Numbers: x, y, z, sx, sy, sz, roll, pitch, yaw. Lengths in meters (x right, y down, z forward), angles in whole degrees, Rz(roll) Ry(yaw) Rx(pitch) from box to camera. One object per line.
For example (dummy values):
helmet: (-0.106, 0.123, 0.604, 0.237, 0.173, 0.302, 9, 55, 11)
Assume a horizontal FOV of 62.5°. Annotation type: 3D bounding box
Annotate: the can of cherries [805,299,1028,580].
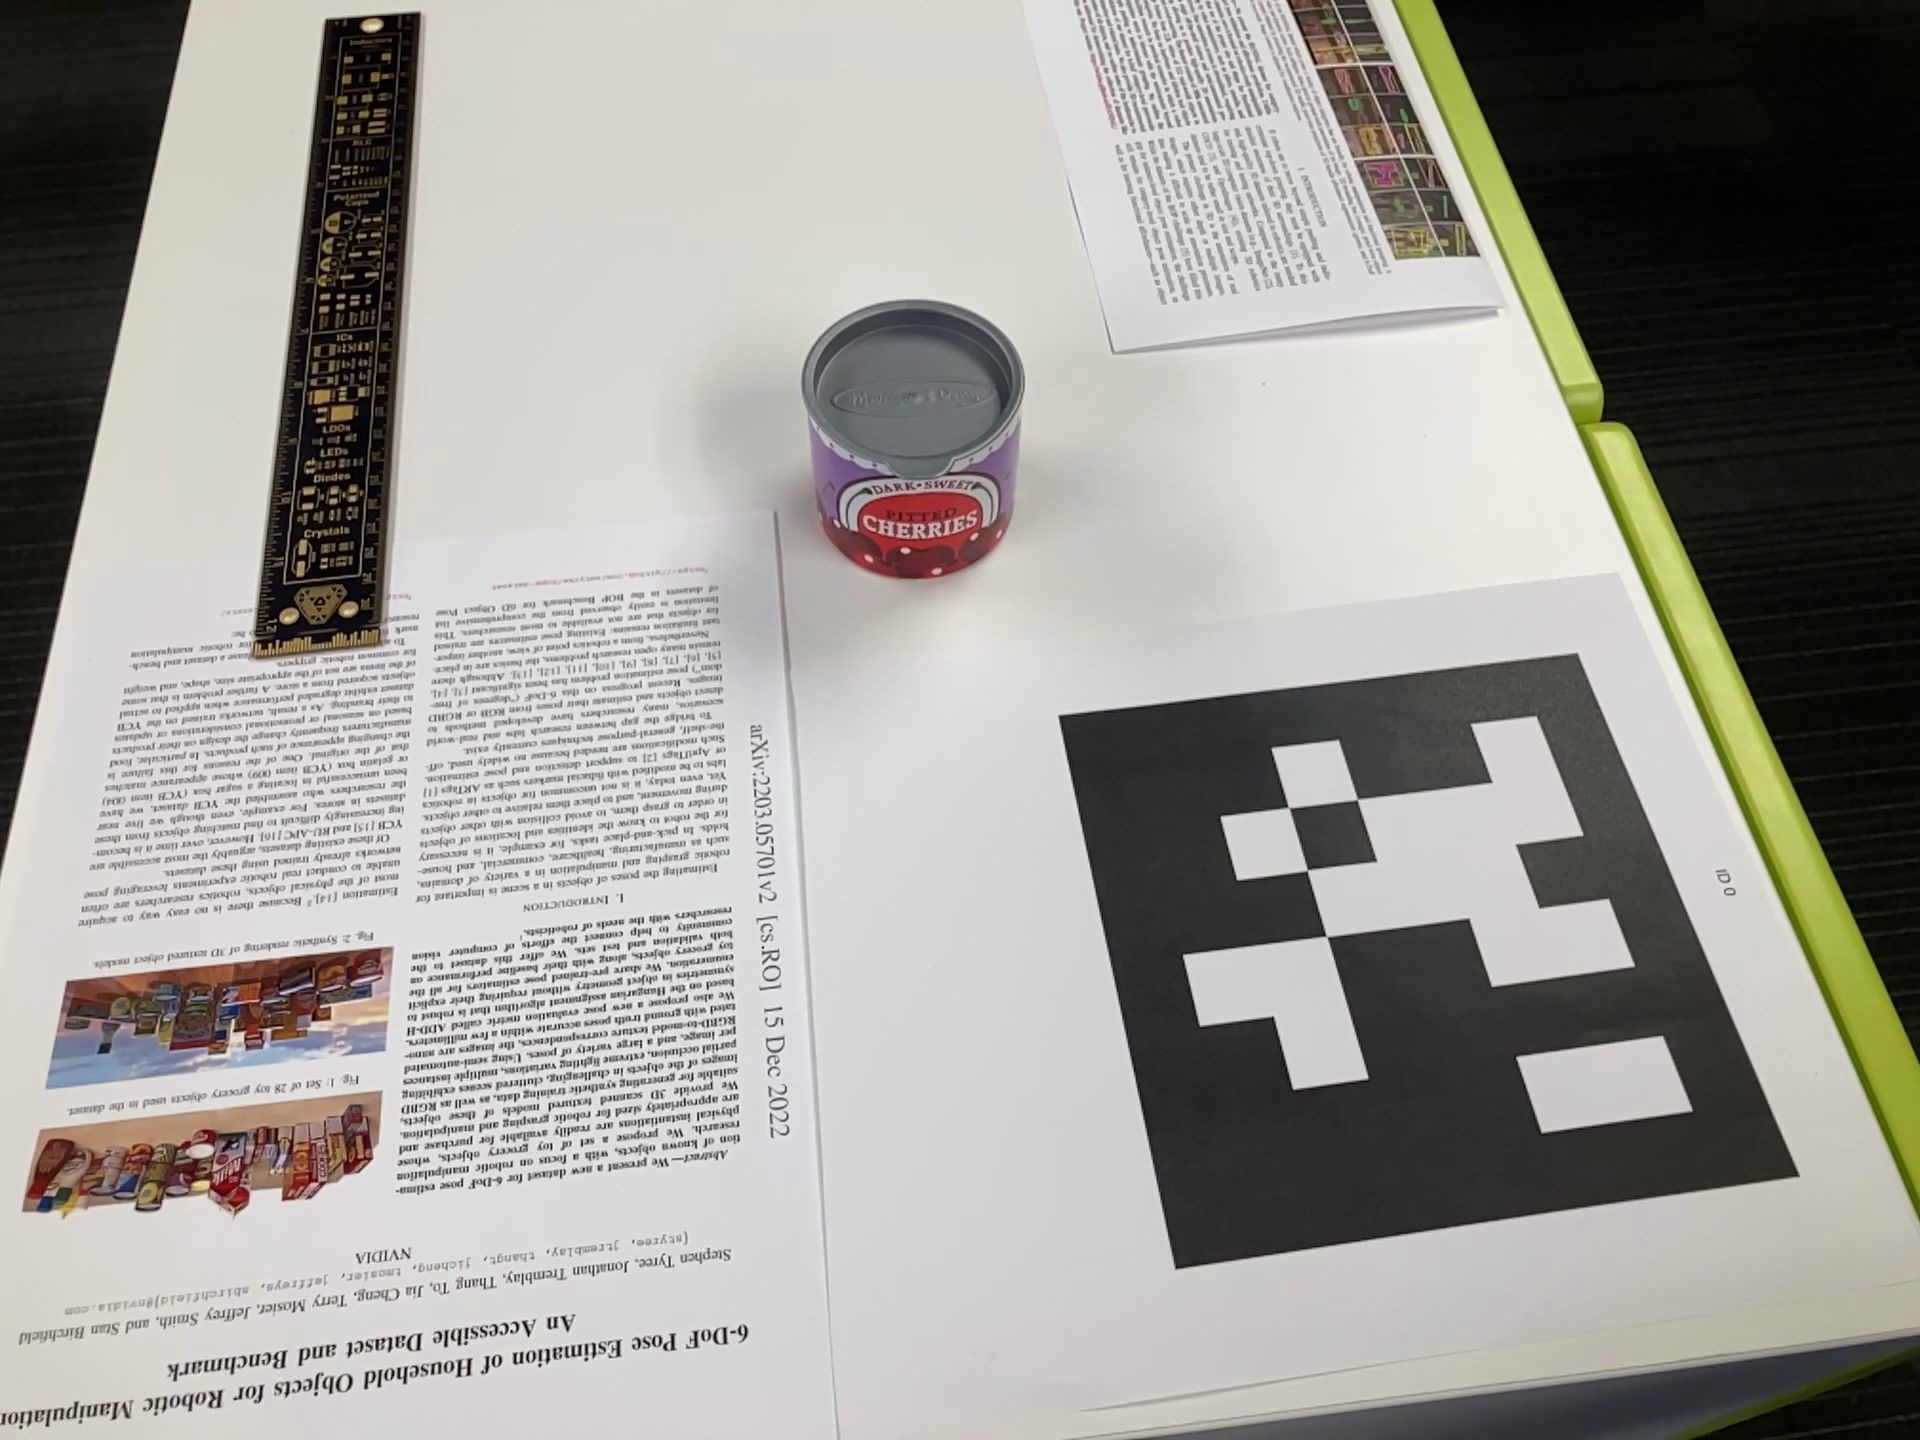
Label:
can of cherries: (-0.013, -0.085, 0.492, 0.071, 0.058, 0.071, 0, 58, 0)
